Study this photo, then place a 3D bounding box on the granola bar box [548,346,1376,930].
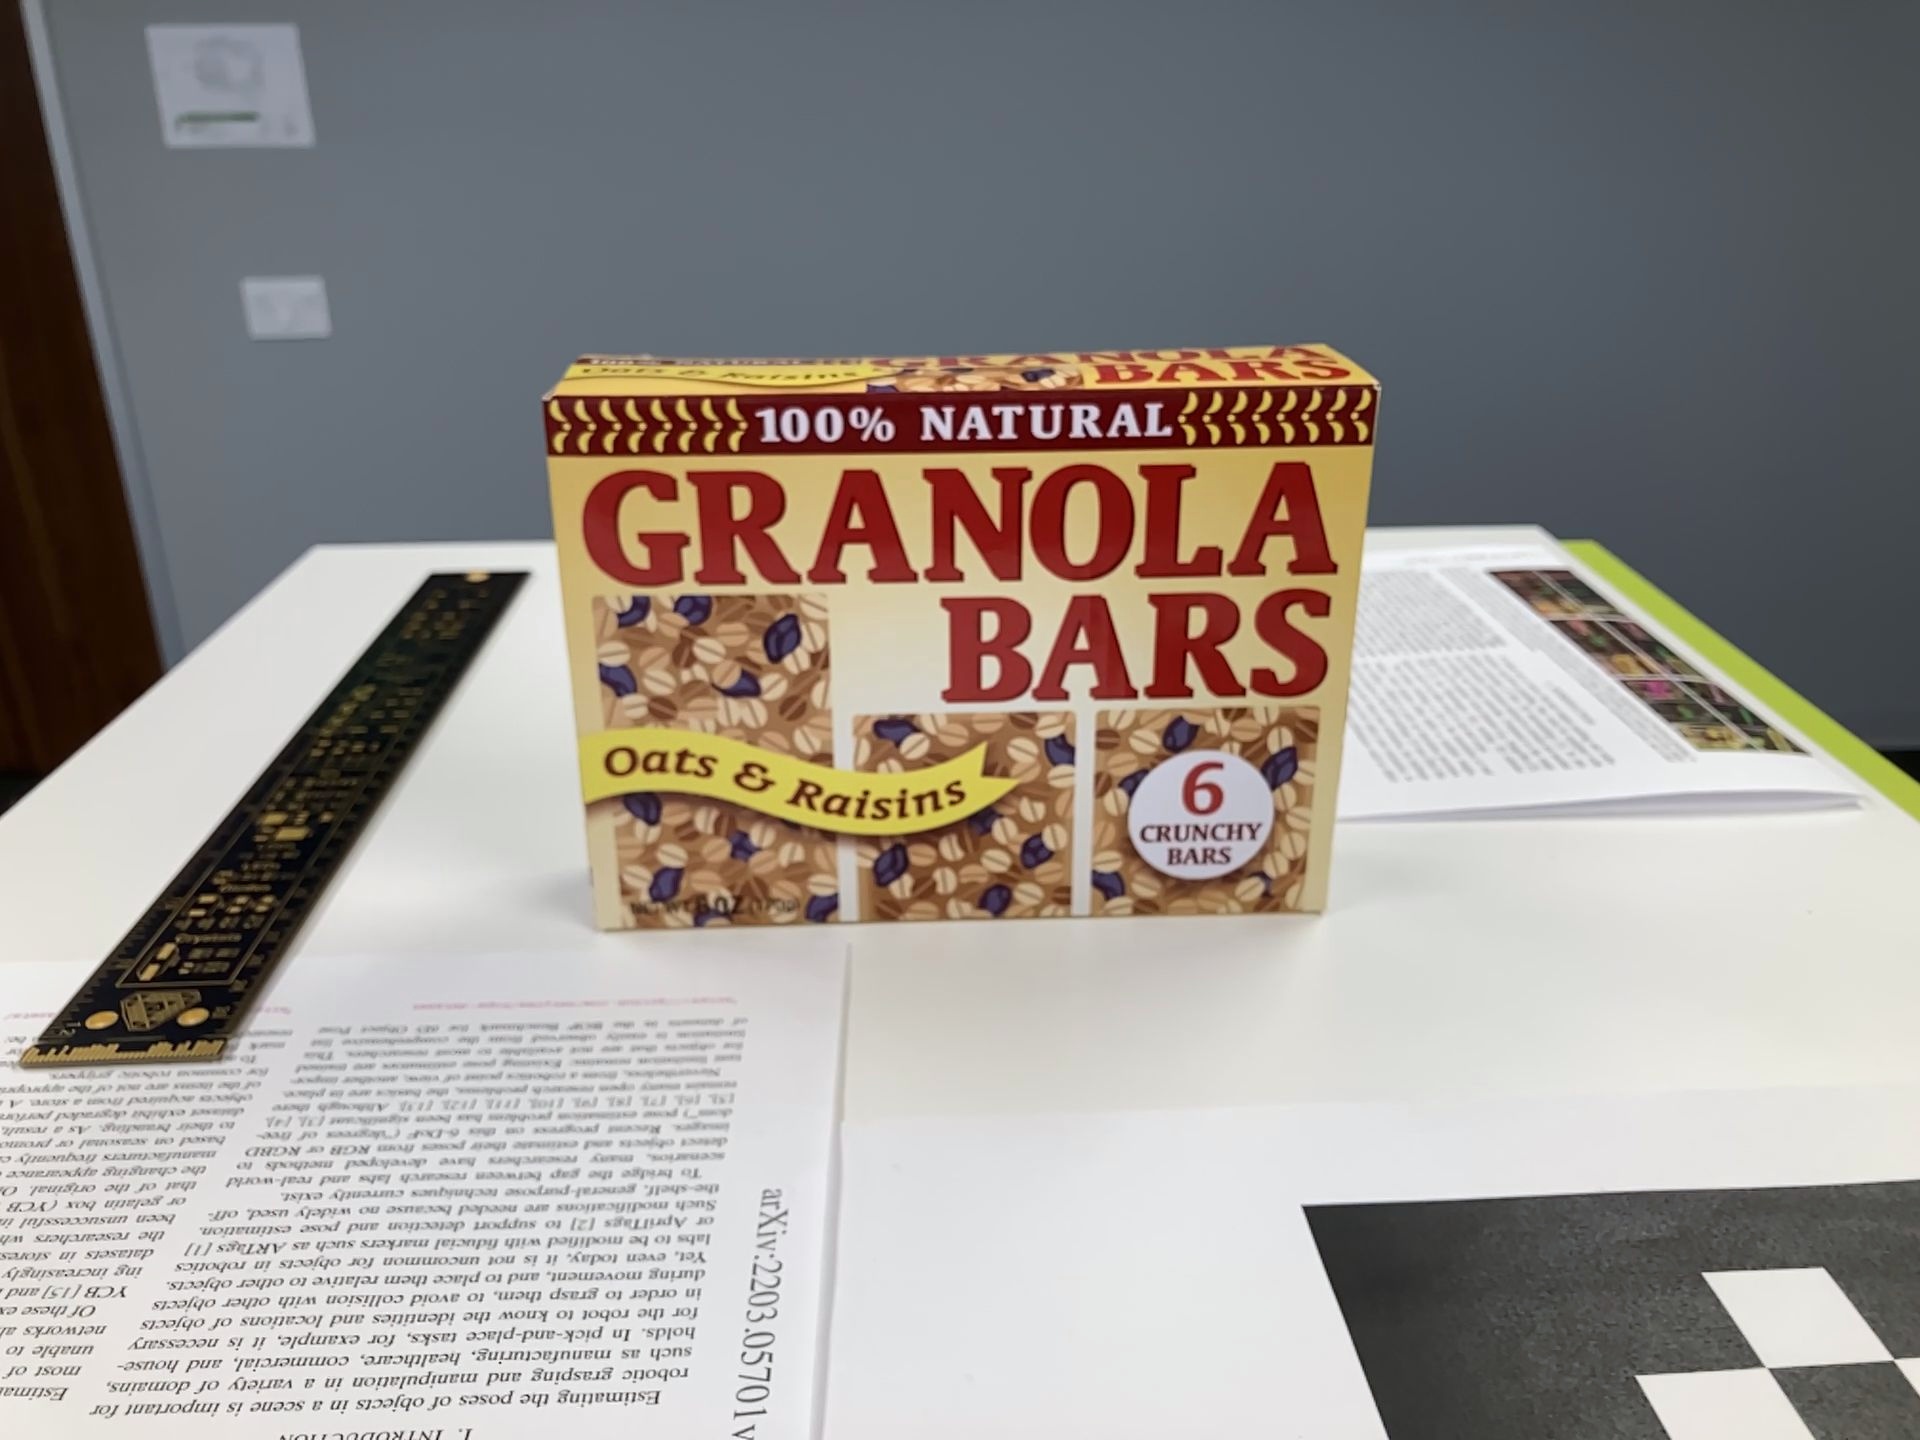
[{"bbox_3d":[0.001,-0.017,0.359,0.165,0.124,0.039,-1,24,-2],"label":"granola bar box"}]
